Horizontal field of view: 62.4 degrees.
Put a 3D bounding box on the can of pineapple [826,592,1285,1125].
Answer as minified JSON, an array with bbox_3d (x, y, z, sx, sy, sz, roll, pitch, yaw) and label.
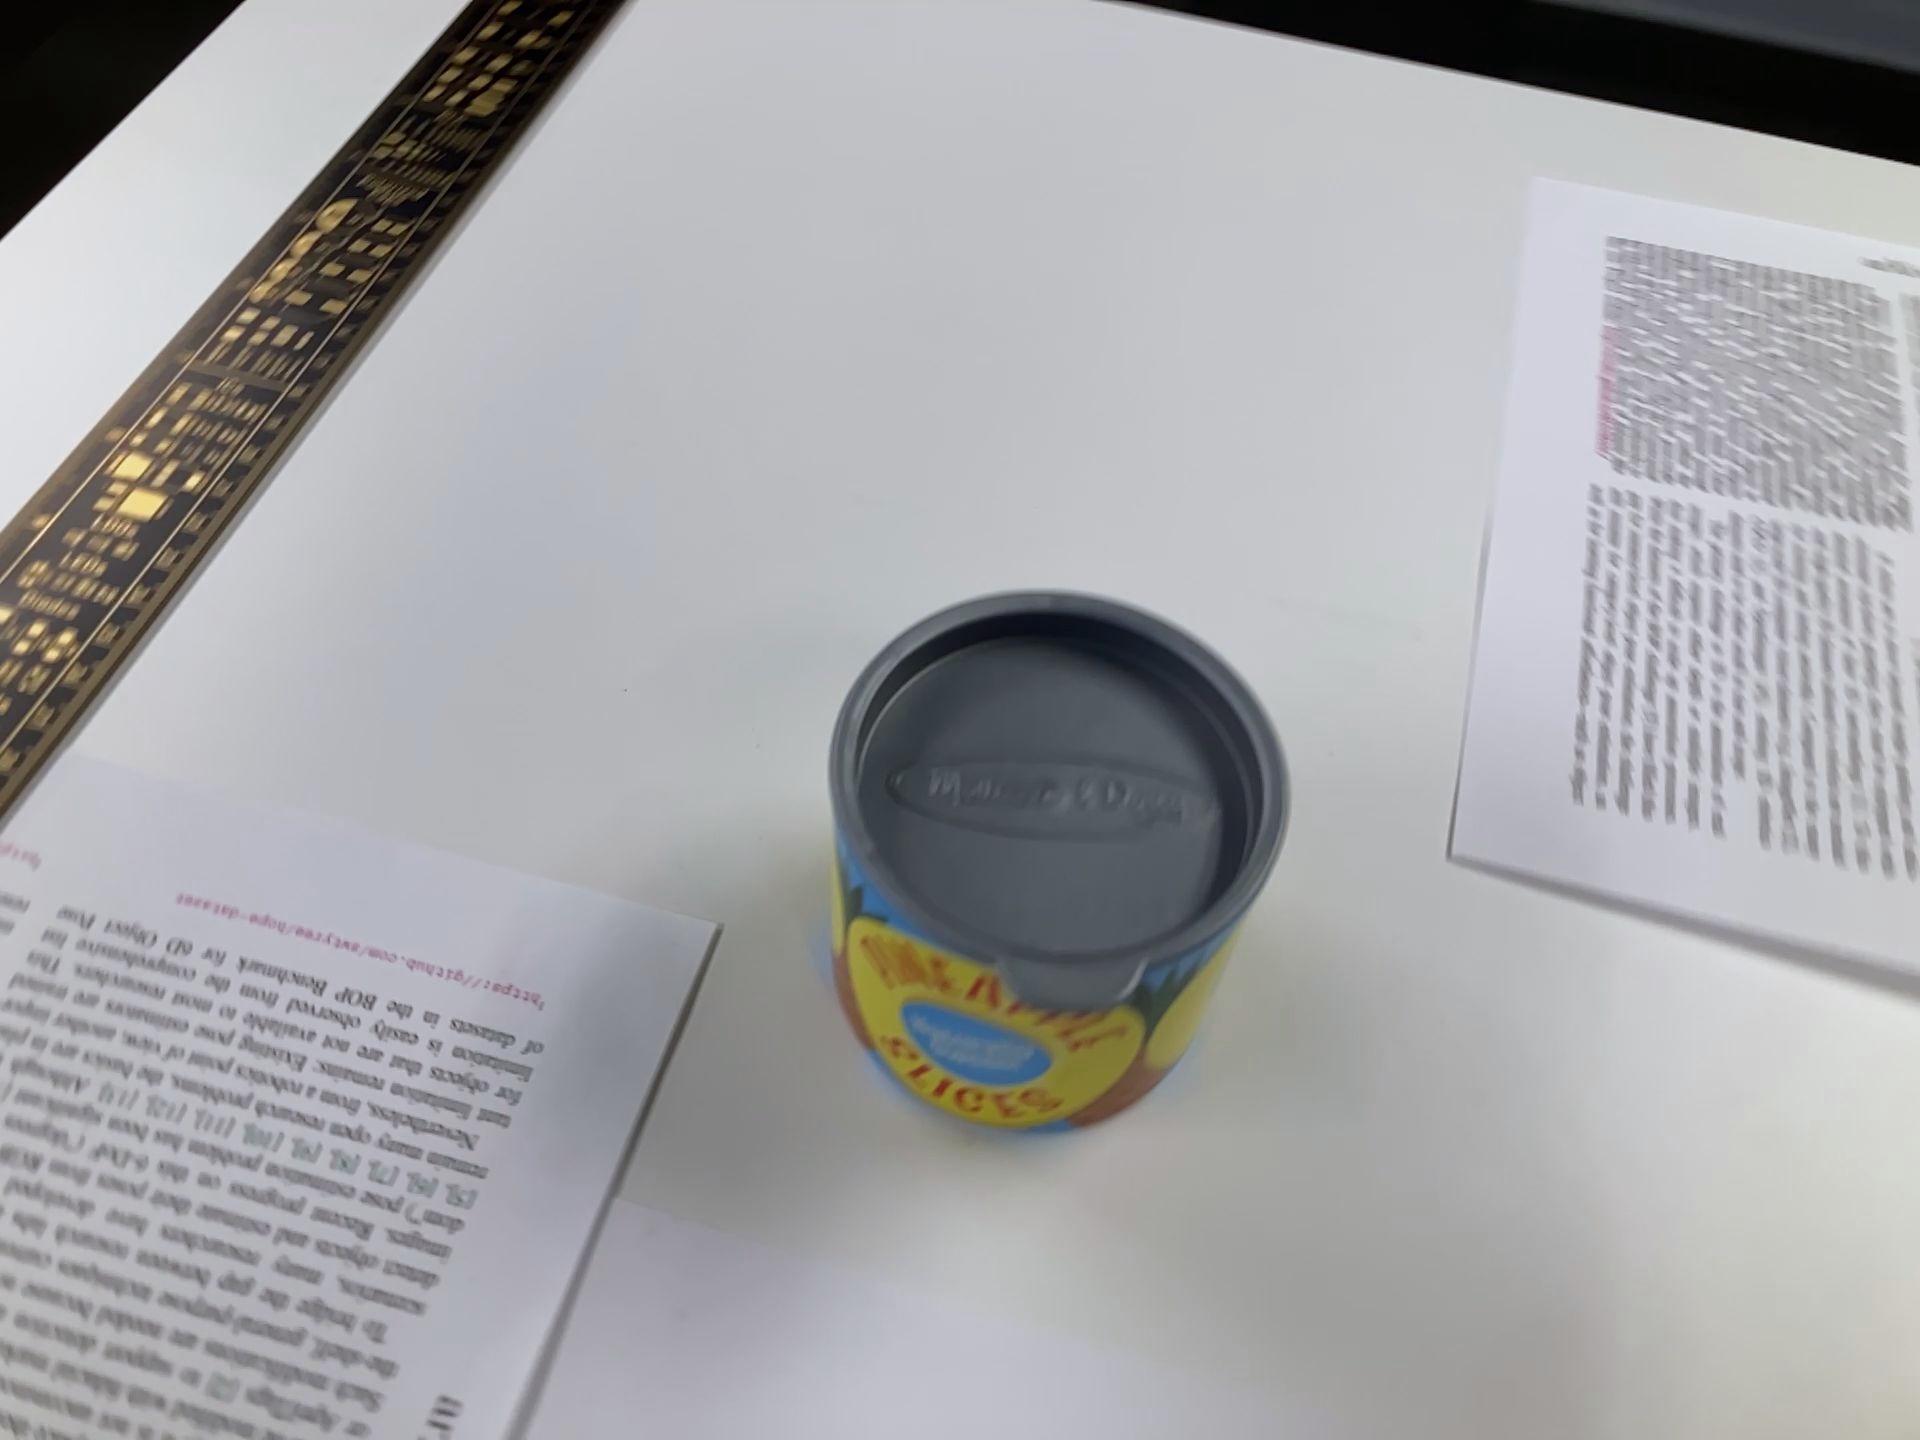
[{"bbox_3d":[0.012,0.024,0.250,0.071,0.058,0.071,2,54,-2],"label":"can of pineapple"}]
